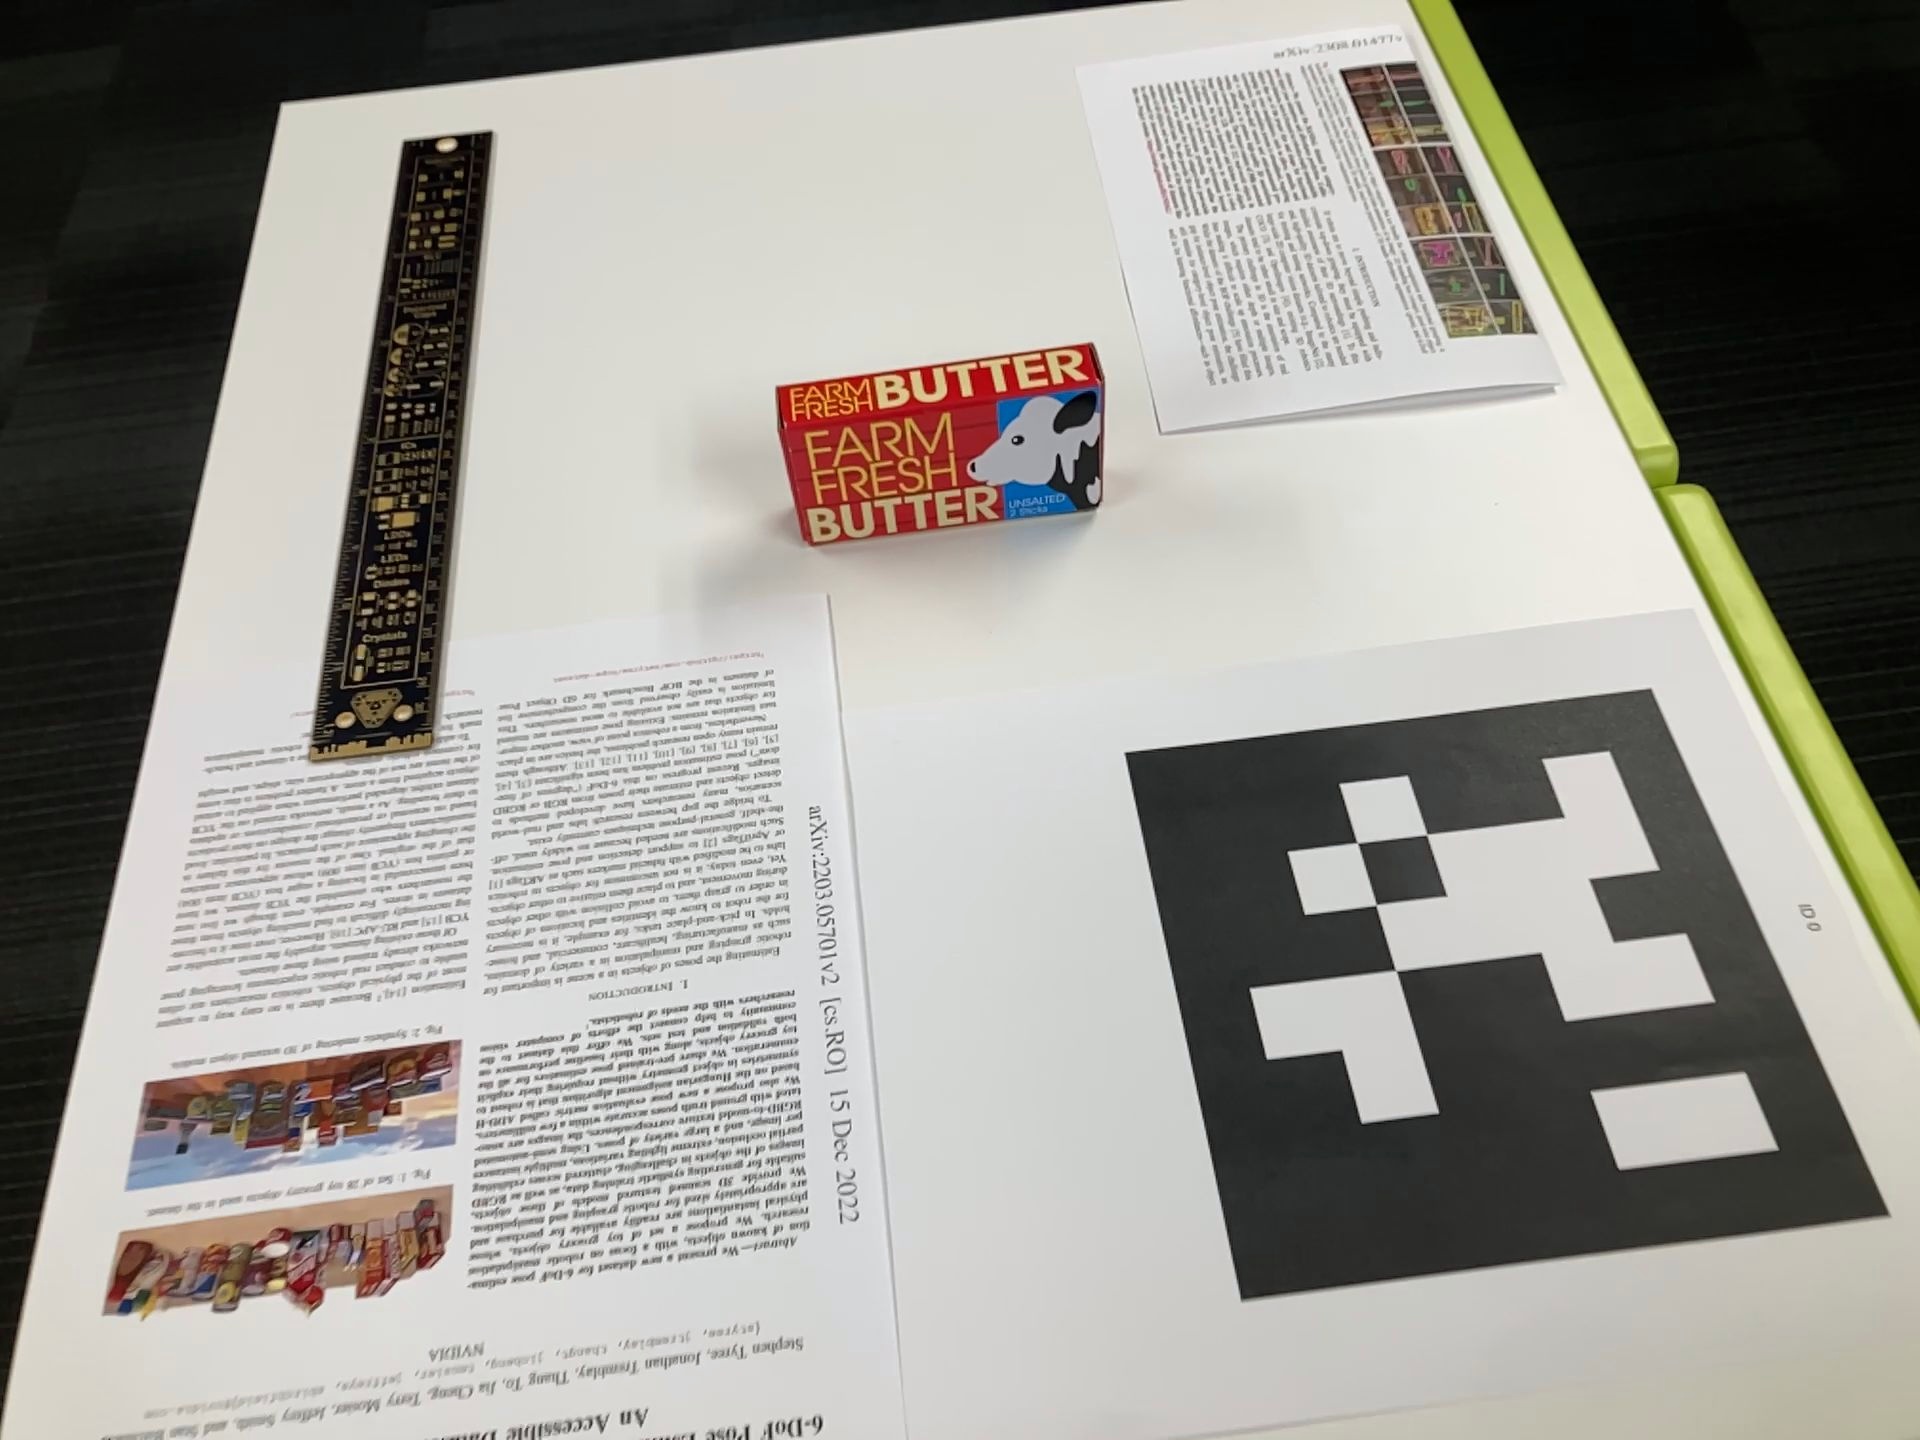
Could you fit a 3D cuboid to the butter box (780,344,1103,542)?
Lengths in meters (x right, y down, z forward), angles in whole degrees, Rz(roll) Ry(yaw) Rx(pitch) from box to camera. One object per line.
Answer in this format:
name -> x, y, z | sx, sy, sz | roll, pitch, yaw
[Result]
butter box -> -0.005, -0.091, 0.526 | 0.103, 0.053, 0.024 | -7, 50, -2
